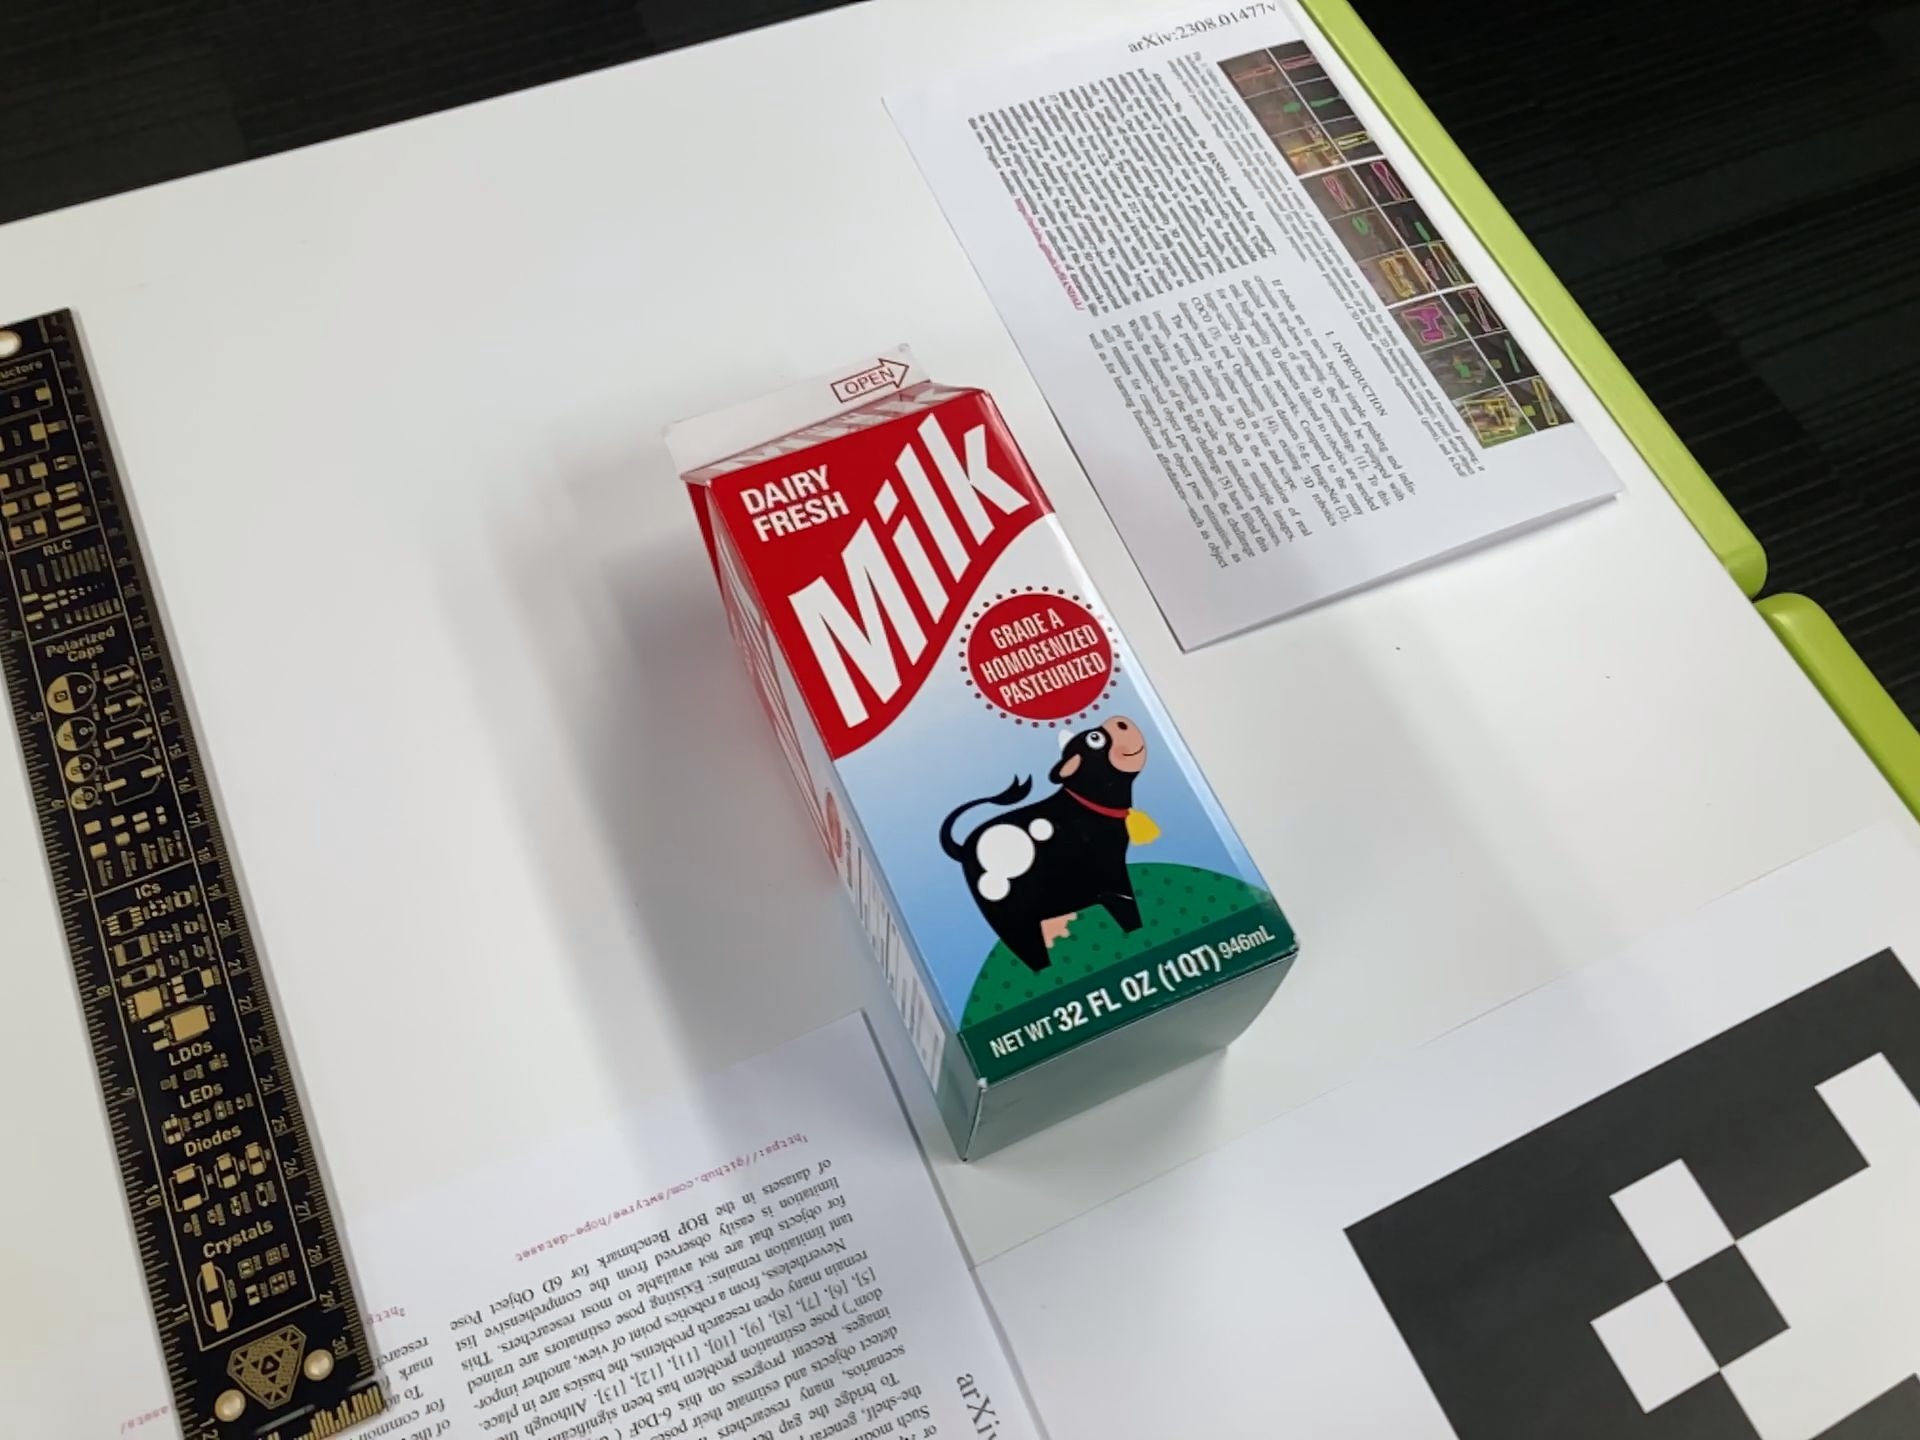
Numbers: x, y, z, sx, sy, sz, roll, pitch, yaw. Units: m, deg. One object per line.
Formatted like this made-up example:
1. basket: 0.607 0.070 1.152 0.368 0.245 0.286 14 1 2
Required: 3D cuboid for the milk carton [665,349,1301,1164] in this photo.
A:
1. milk carton: -0.005 -0.006 0.369 0.072 0.073 0.190 -22 66 -13
